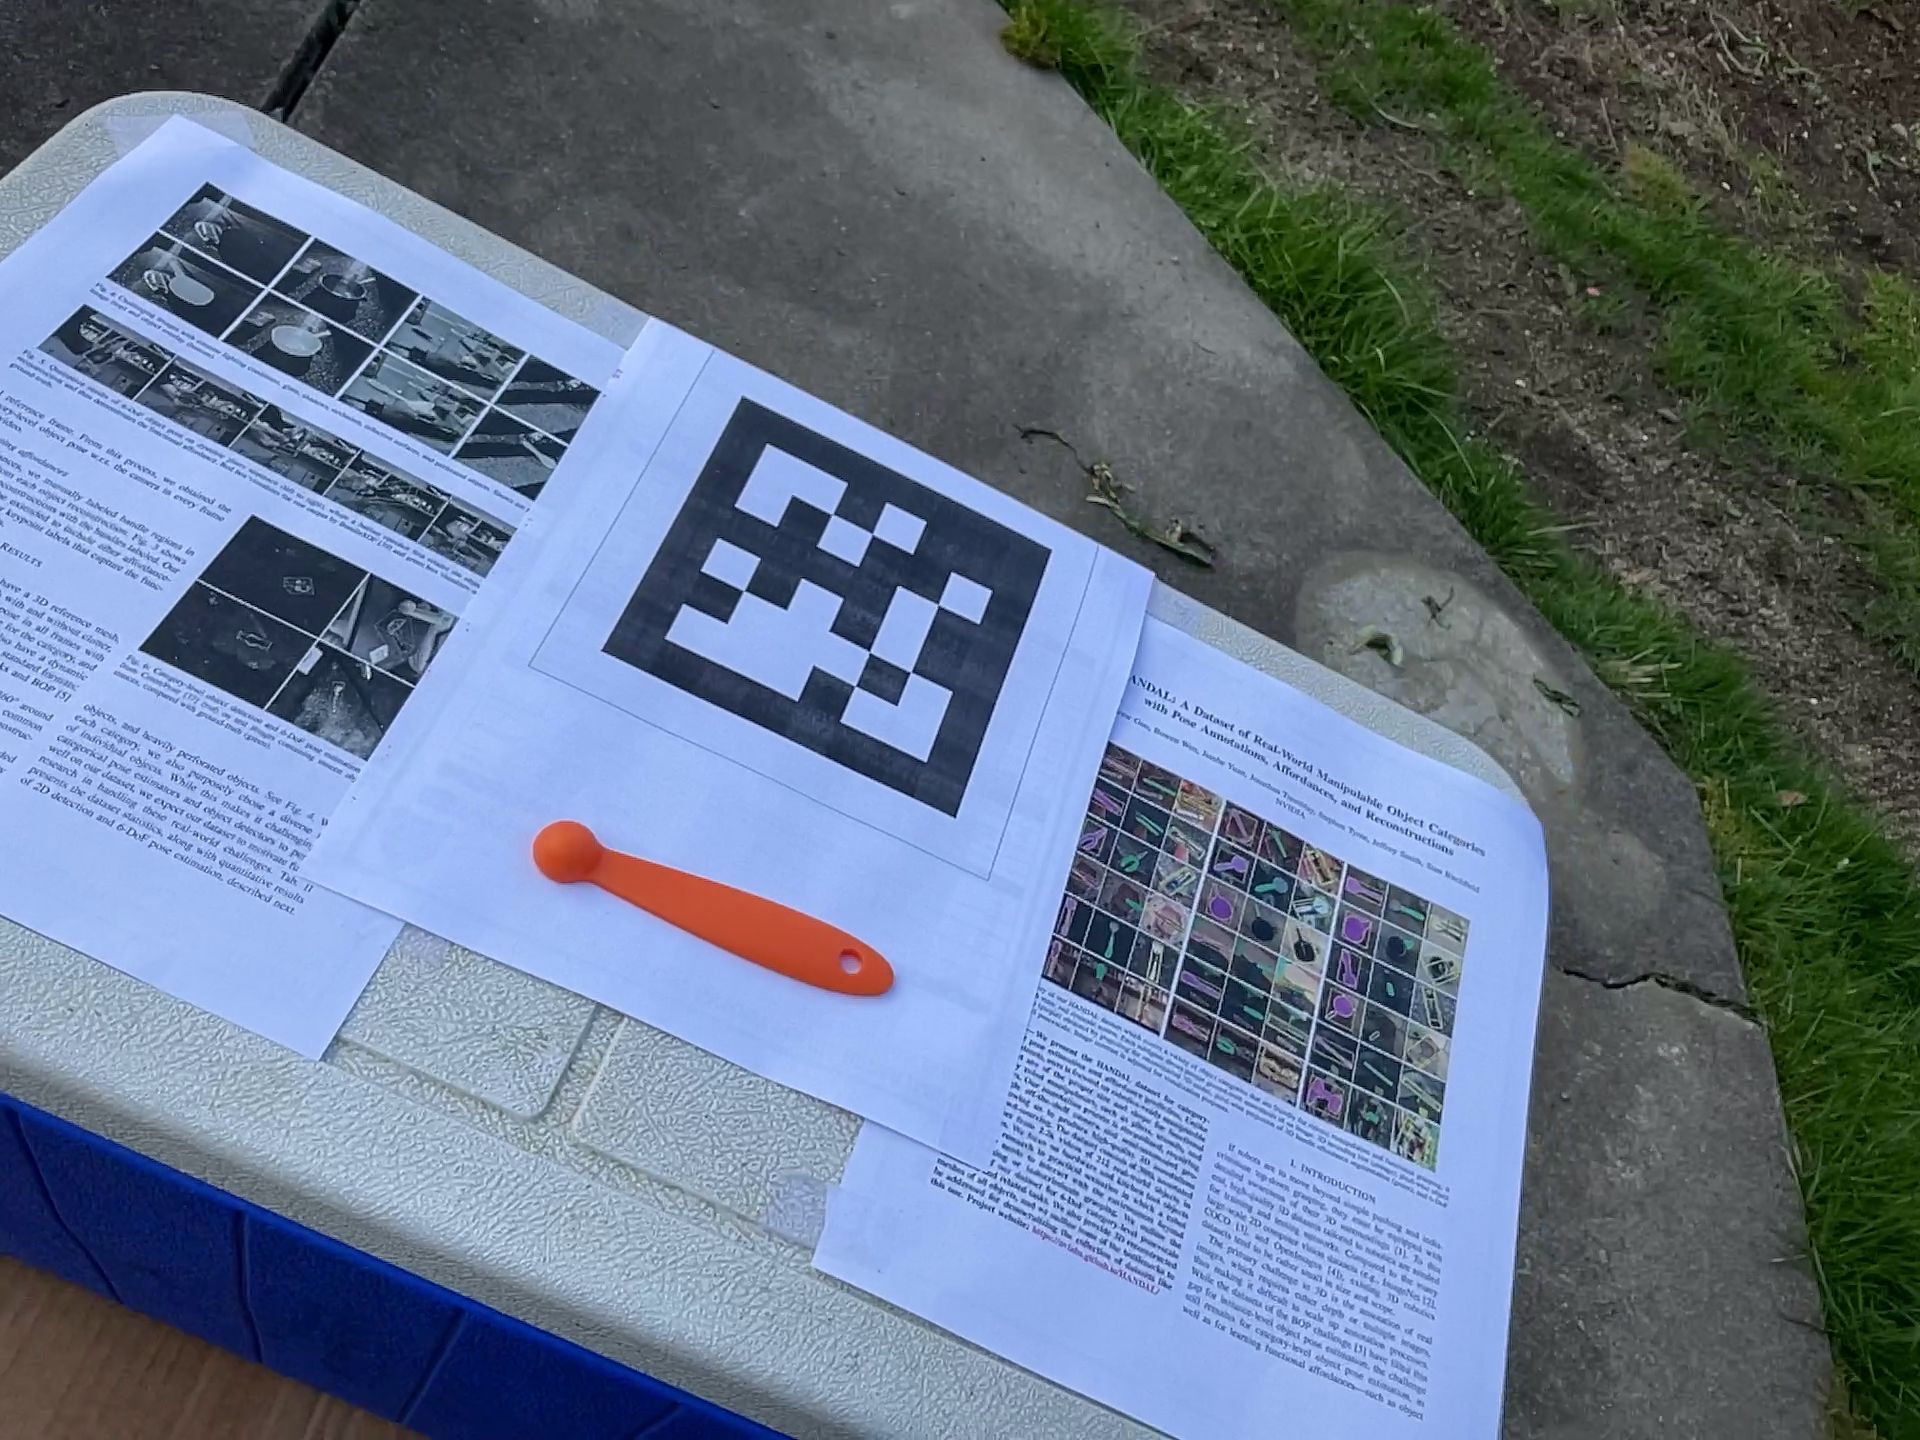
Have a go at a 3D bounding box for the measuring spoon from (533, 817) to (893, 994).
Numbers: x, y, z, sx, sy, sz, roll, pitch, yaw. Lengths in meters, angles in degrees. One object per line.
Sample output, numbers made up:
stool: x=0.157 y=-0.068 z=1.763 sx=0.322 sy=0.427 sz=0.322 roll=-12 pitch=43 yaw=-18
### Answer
measuring spoon: x=-0.073 y=0.056 z=0.487 sx=0.117 sy=0.011 sz=0.021 roll=24 pitch=58 yaw=-10
